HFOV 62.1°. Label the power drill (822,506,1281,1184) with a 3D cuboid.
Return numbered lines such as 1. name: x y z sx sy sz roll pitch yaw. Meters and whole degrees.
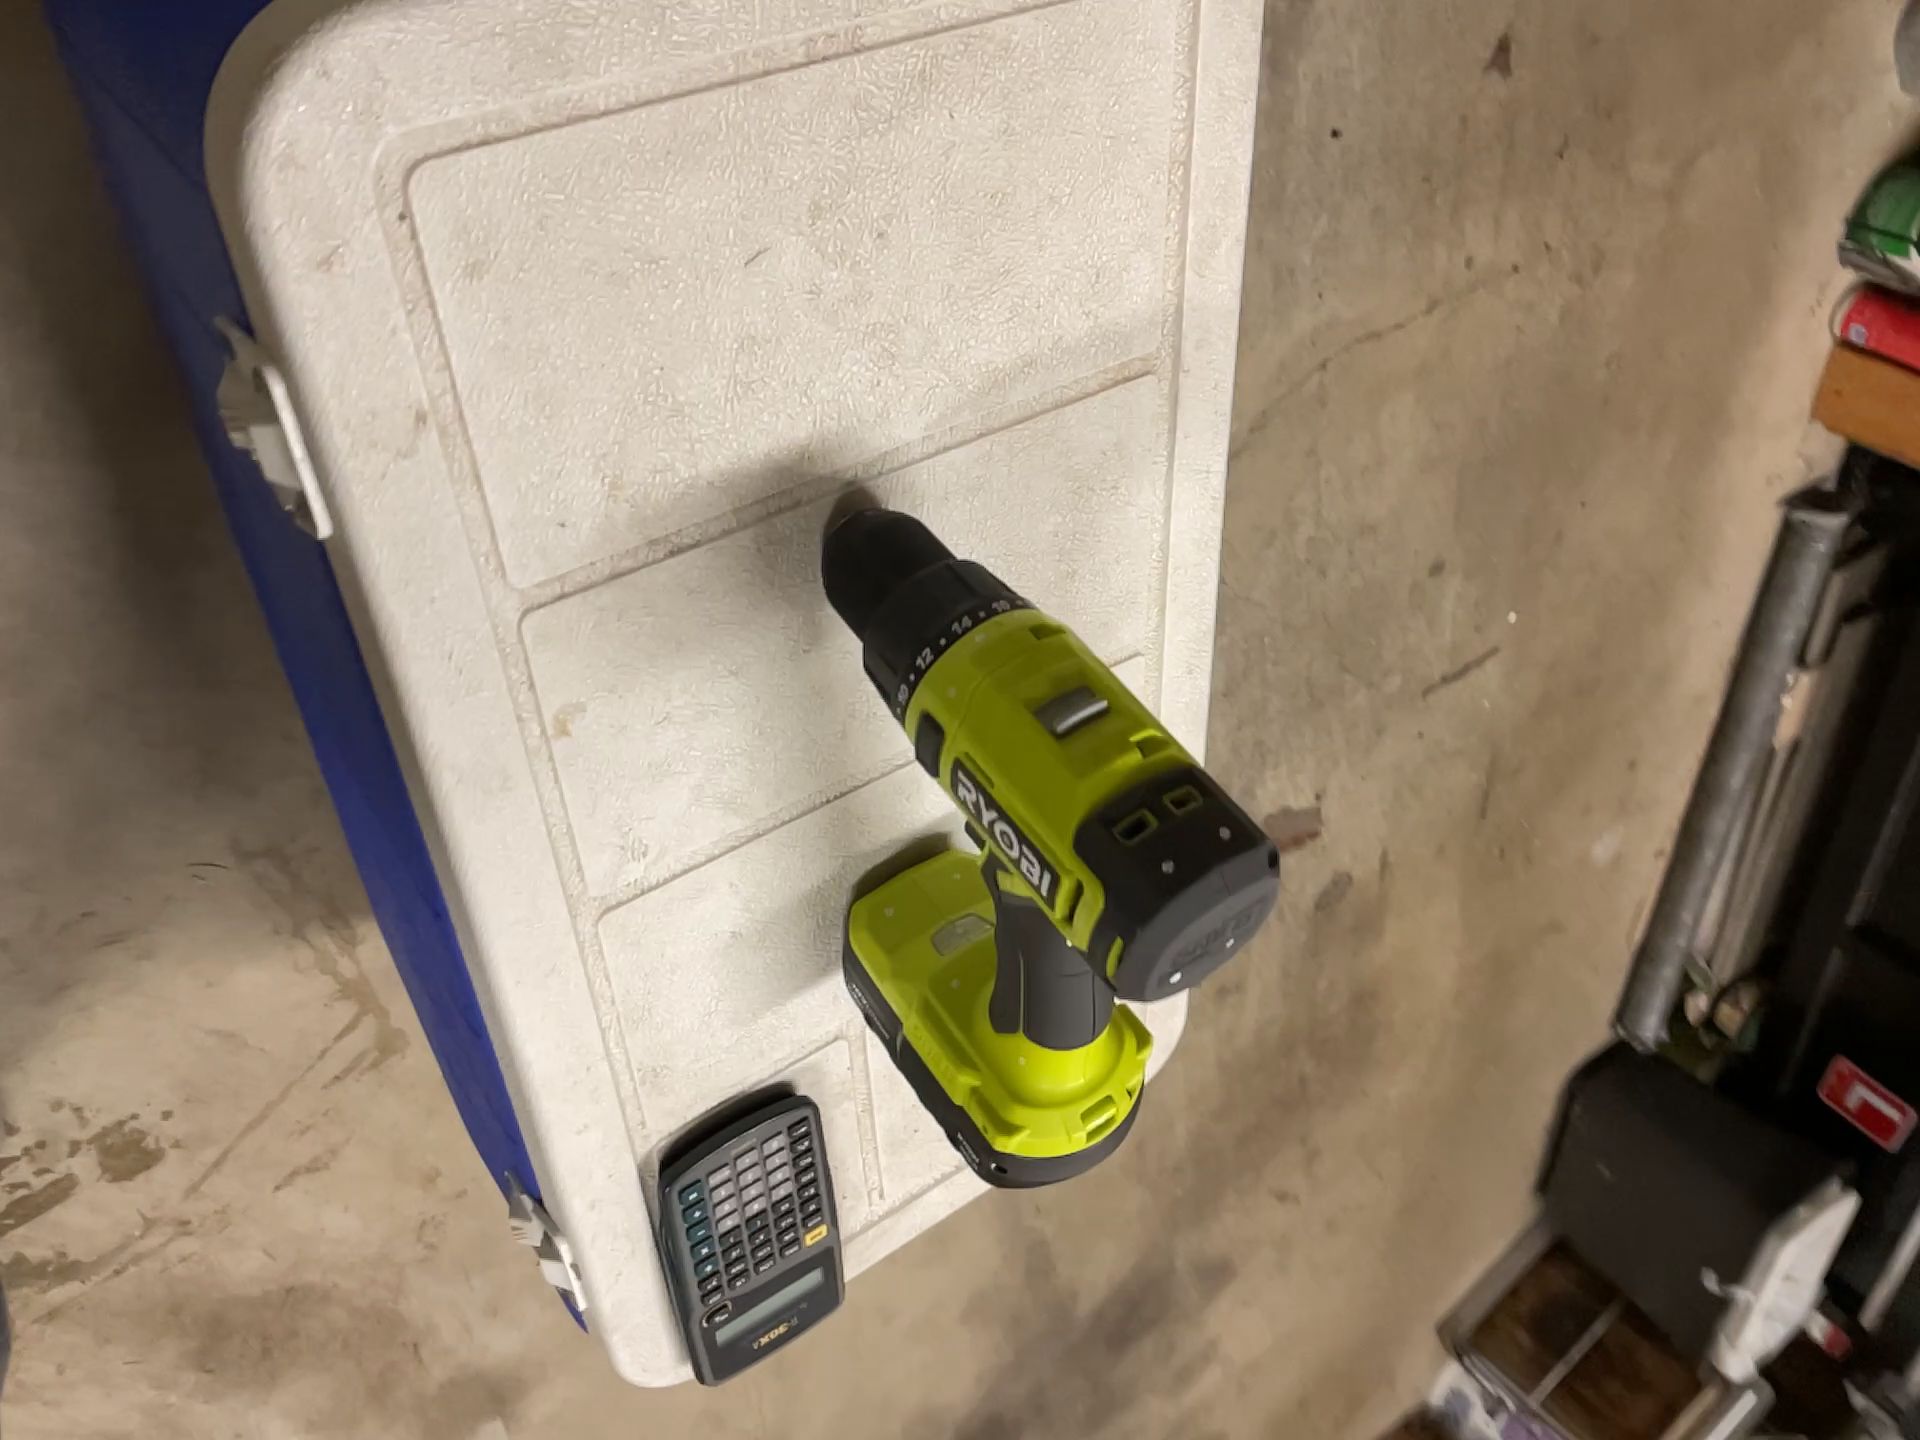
1. power drill: 0.012 0.049 0.567 0.080 0.190 0.228 -27 149 -24
